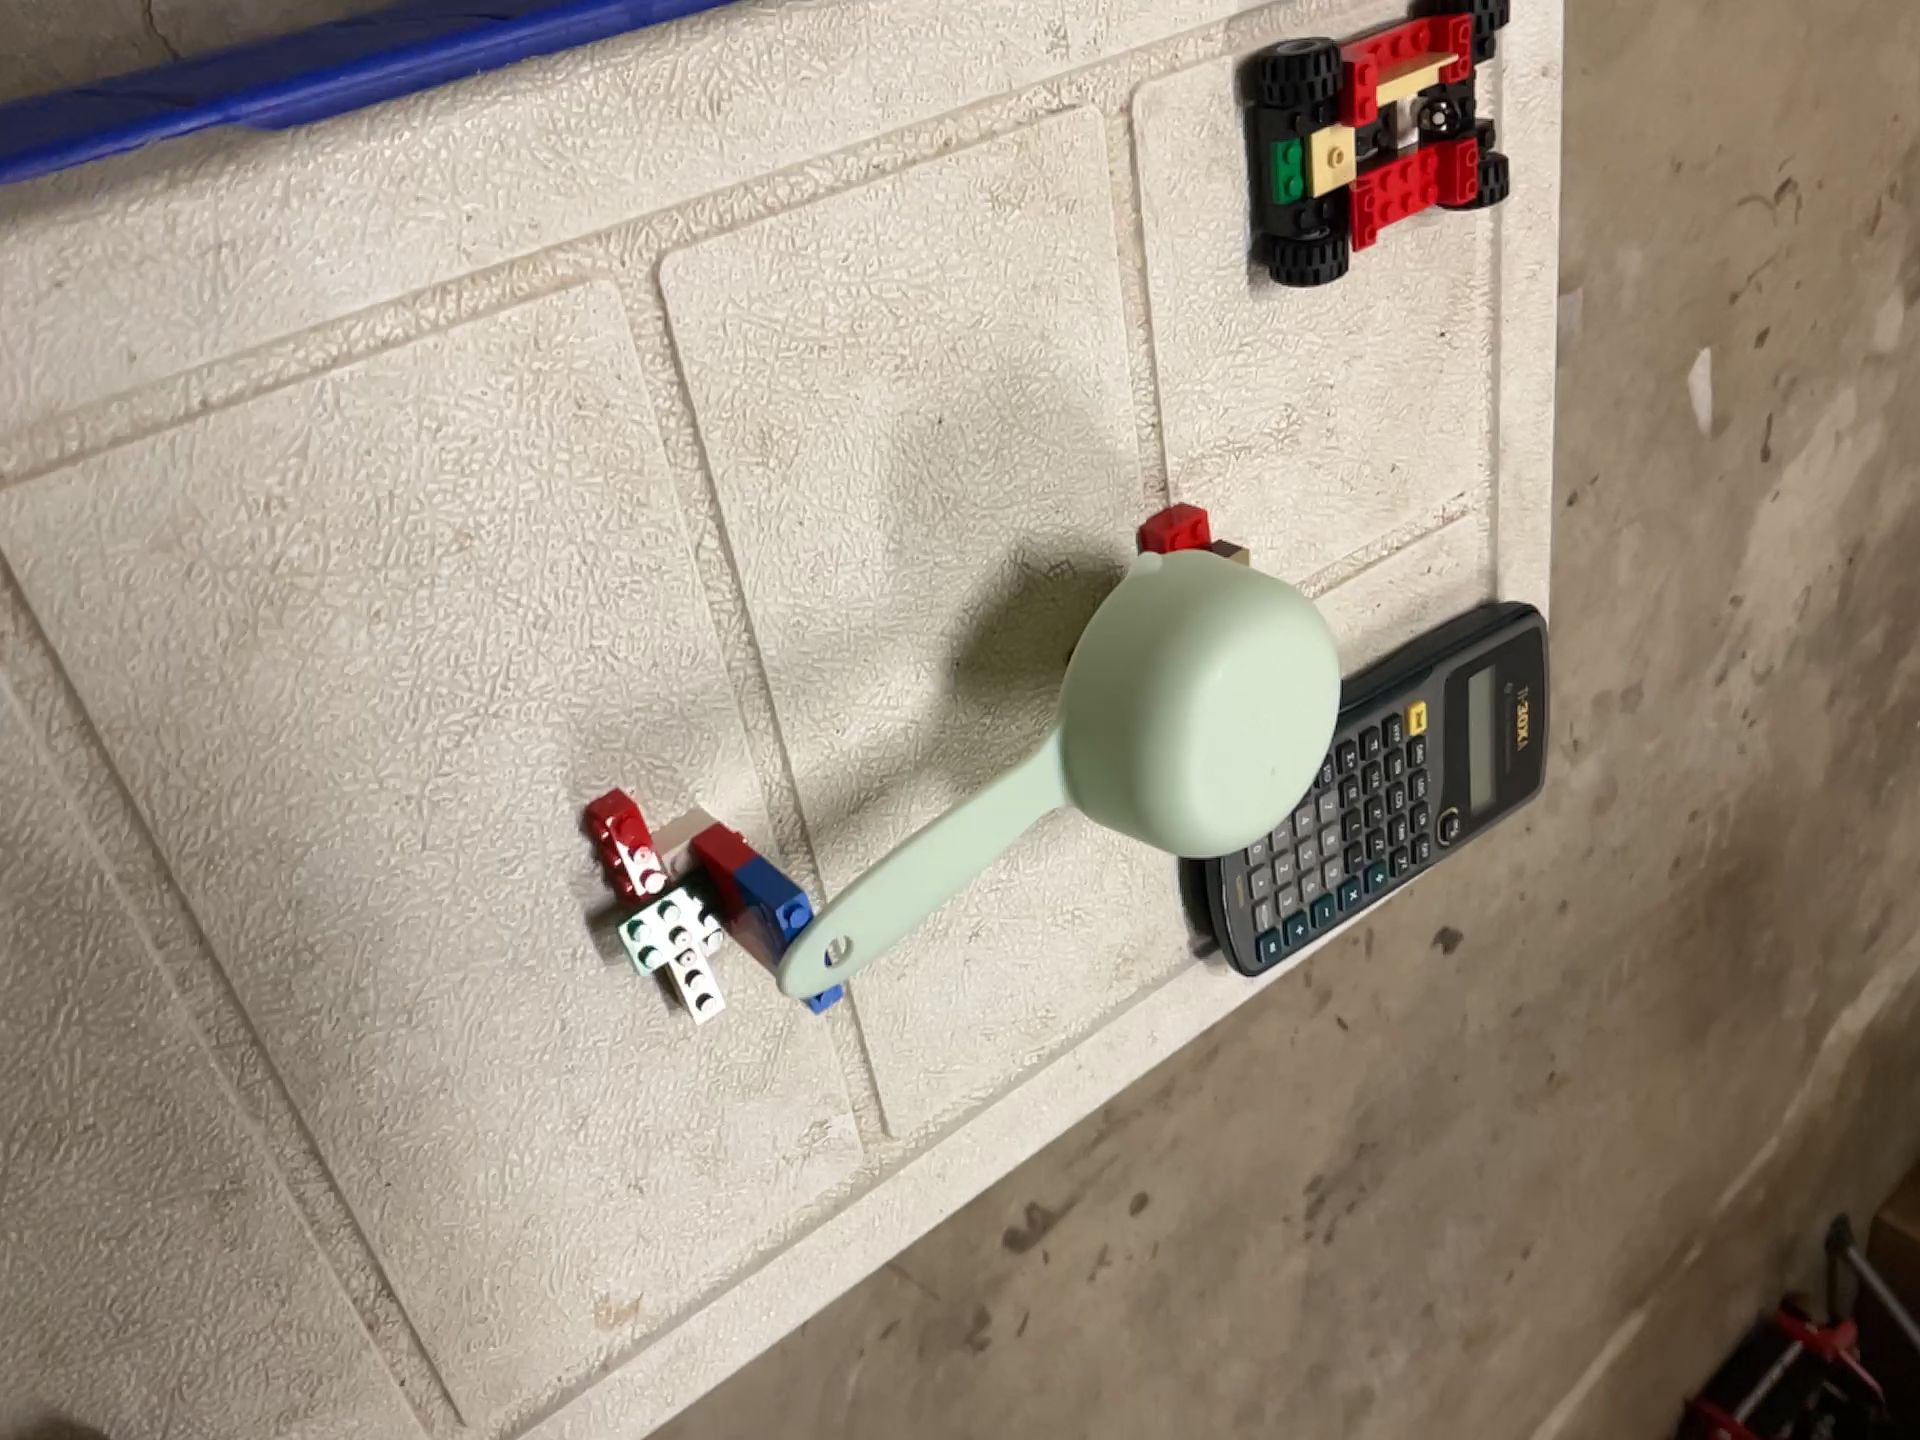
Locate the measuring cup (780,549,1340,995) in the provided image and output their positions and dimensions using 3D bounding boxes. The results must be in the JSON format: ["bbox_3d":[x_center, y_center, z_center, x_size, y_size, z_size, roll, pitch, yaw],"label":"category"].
[{"bbox_3d":[0.031,0.020,0.380,0.167,0.038,0.083,-35,128,-30],"label":"measuring cup"}]
